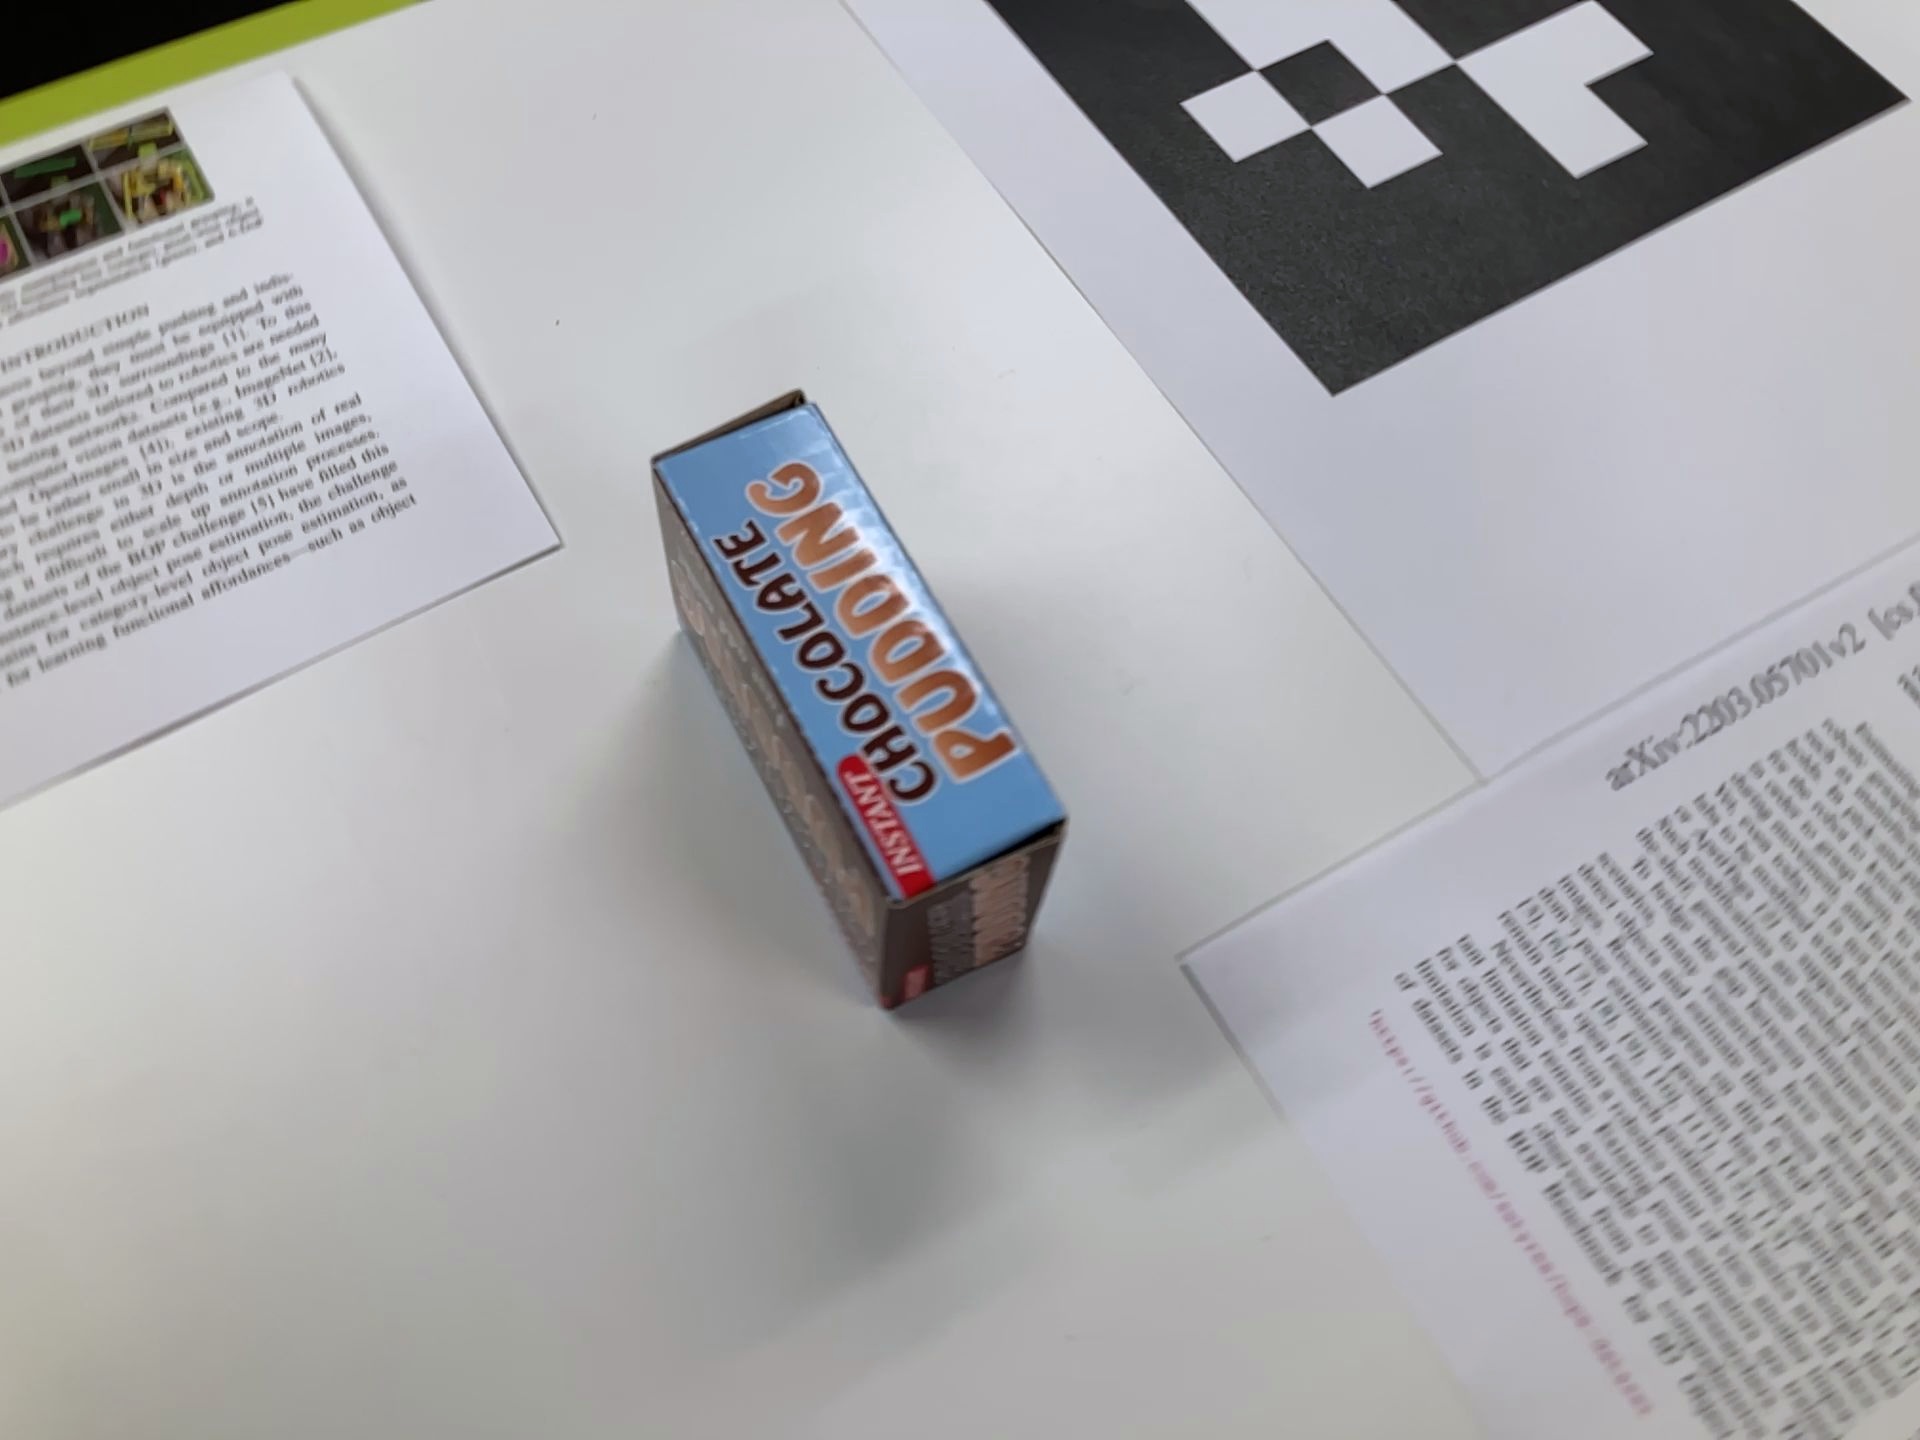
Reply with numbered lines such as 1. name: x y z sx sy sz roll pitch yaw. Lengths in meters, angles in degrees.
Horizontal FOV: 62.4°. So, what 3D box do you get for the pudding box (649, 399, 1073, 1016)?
1. pudding box: -0.017 -0.002 0.251 0.030 0.049 0.083 -25 67 -16
